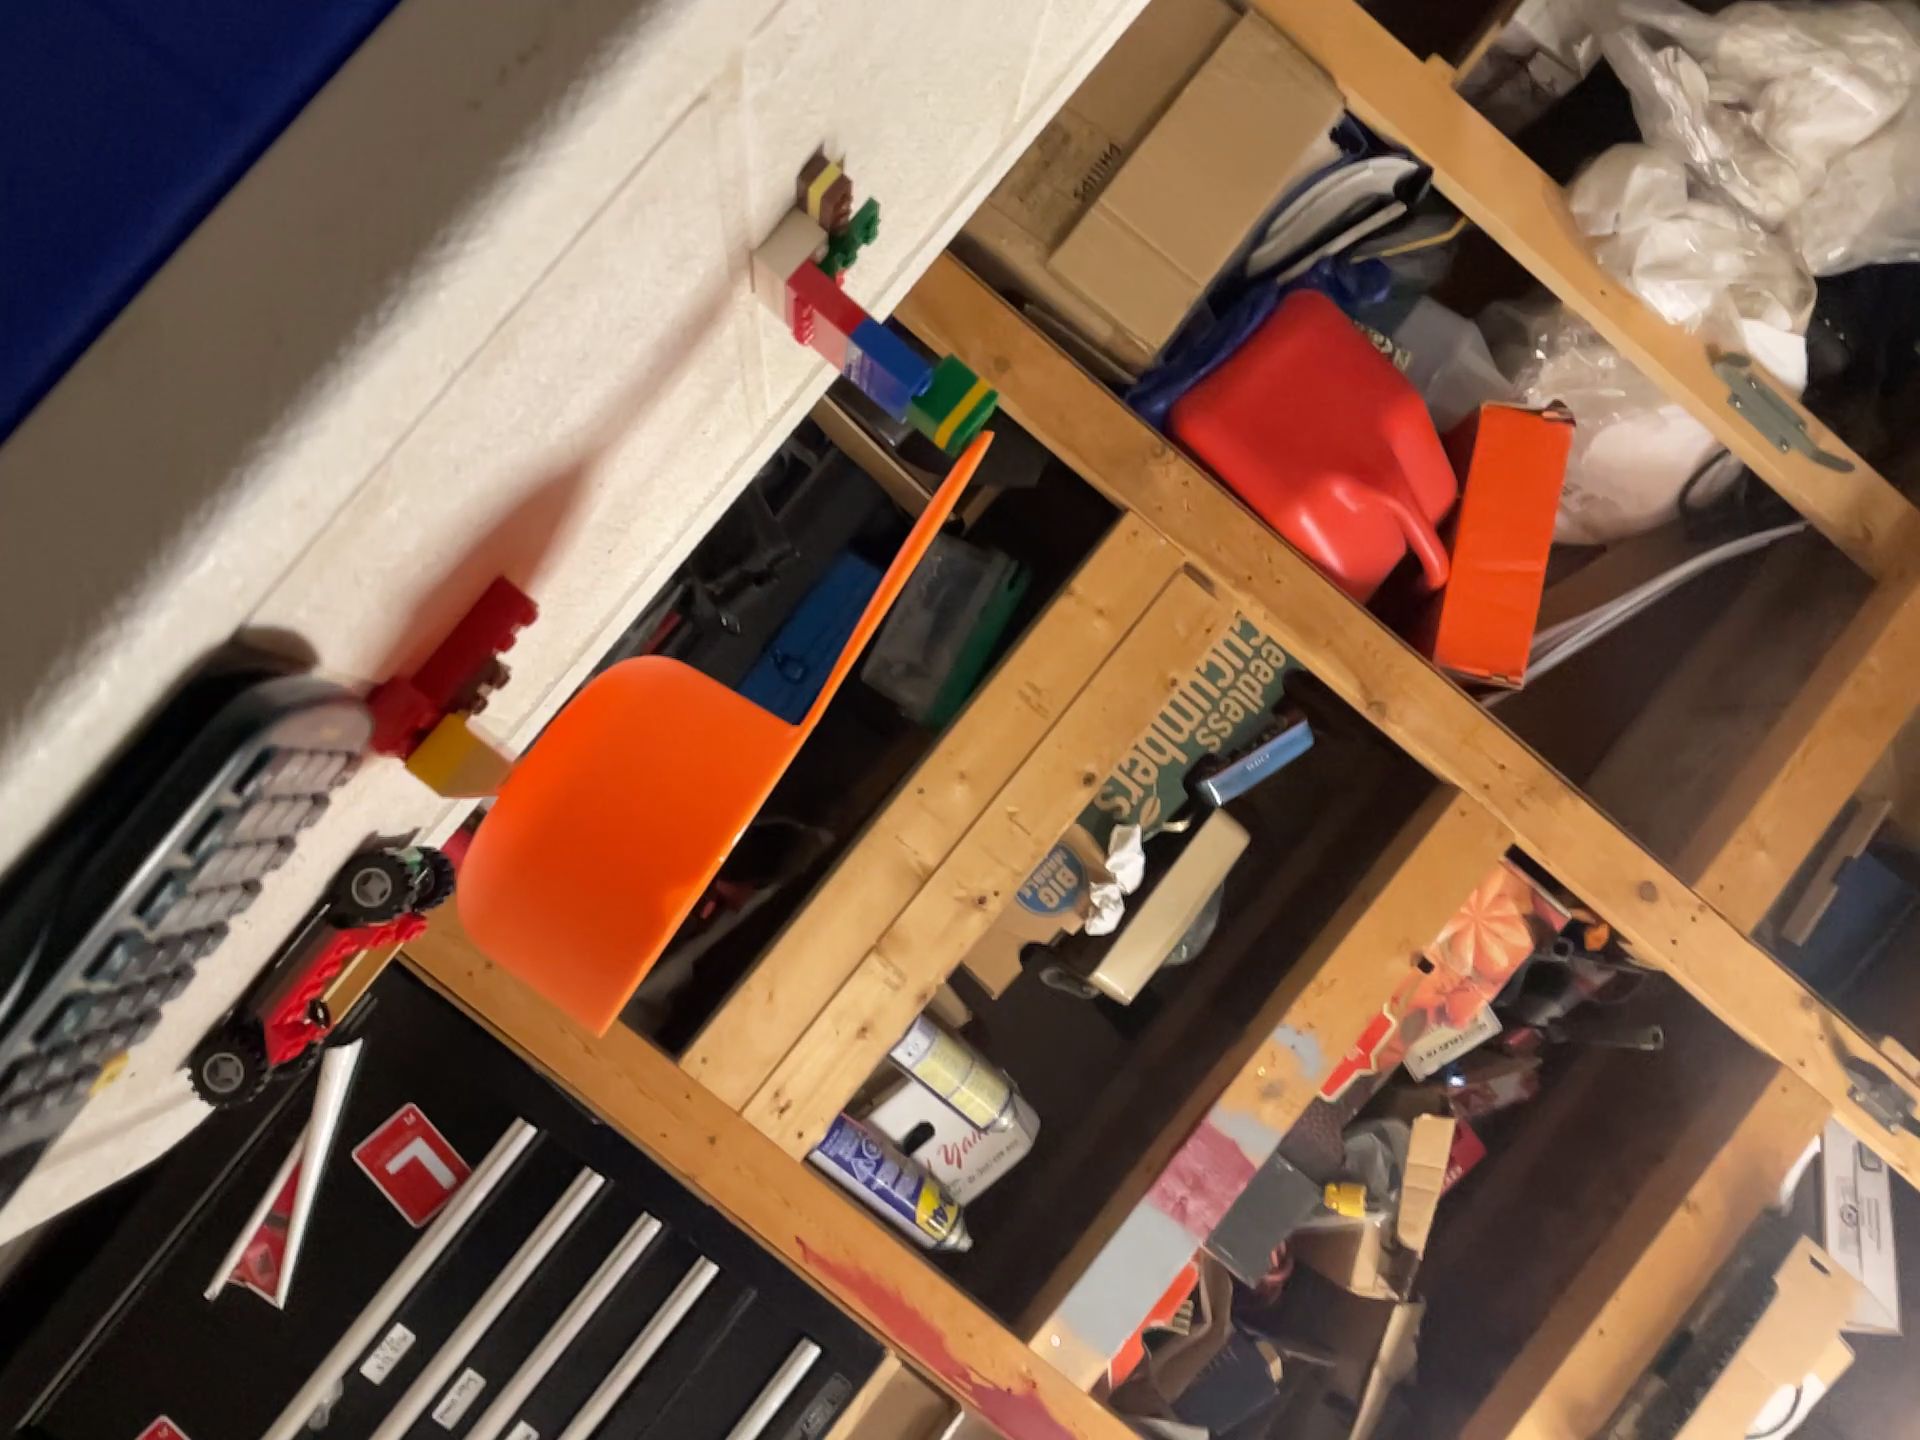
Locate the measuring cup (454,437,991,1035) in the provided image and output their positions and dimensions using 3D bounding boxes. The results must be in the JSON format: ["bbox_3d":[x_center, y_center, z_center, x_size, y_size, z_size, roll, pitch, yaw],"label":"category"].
[{"bbox_3d":[-0.059,-0.009,0.390,0.173,0.052,0.095,-57,-177,-1],"label":"measuring cup"}]
